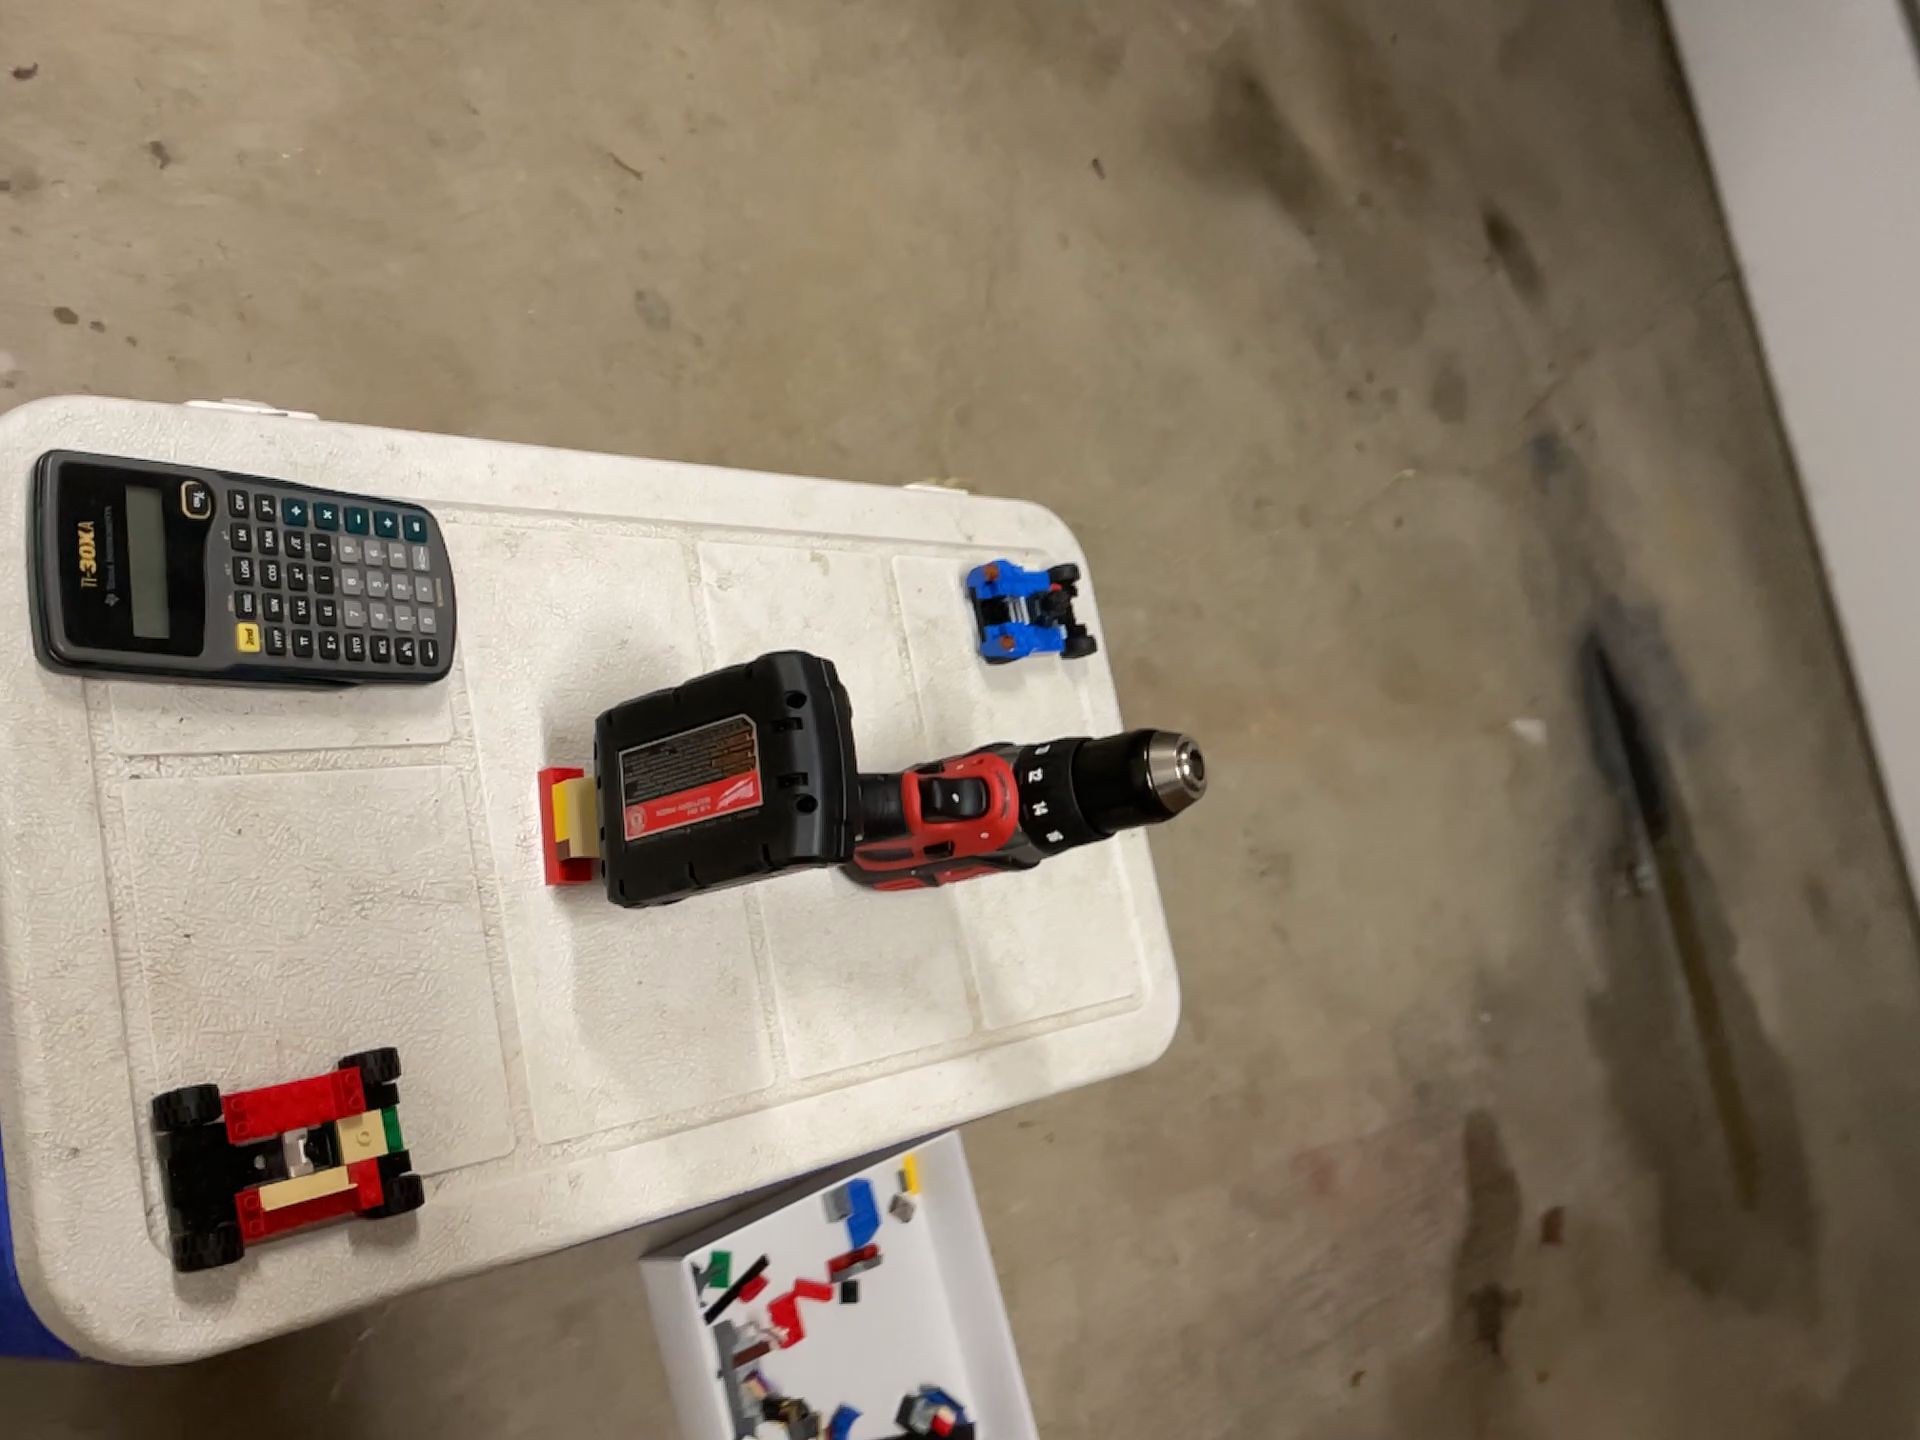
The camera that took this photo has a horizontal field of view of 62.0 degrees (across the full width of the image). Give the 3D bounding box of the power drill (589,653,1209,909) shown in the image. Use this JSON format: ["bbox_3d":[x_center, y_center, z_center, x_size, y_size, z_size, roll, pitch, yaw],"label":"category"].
[{"bbox_3d":[-0.020,0.031,0.673,0.227,0.187,0.080,11,69,-54],"label":"power drill"}]
